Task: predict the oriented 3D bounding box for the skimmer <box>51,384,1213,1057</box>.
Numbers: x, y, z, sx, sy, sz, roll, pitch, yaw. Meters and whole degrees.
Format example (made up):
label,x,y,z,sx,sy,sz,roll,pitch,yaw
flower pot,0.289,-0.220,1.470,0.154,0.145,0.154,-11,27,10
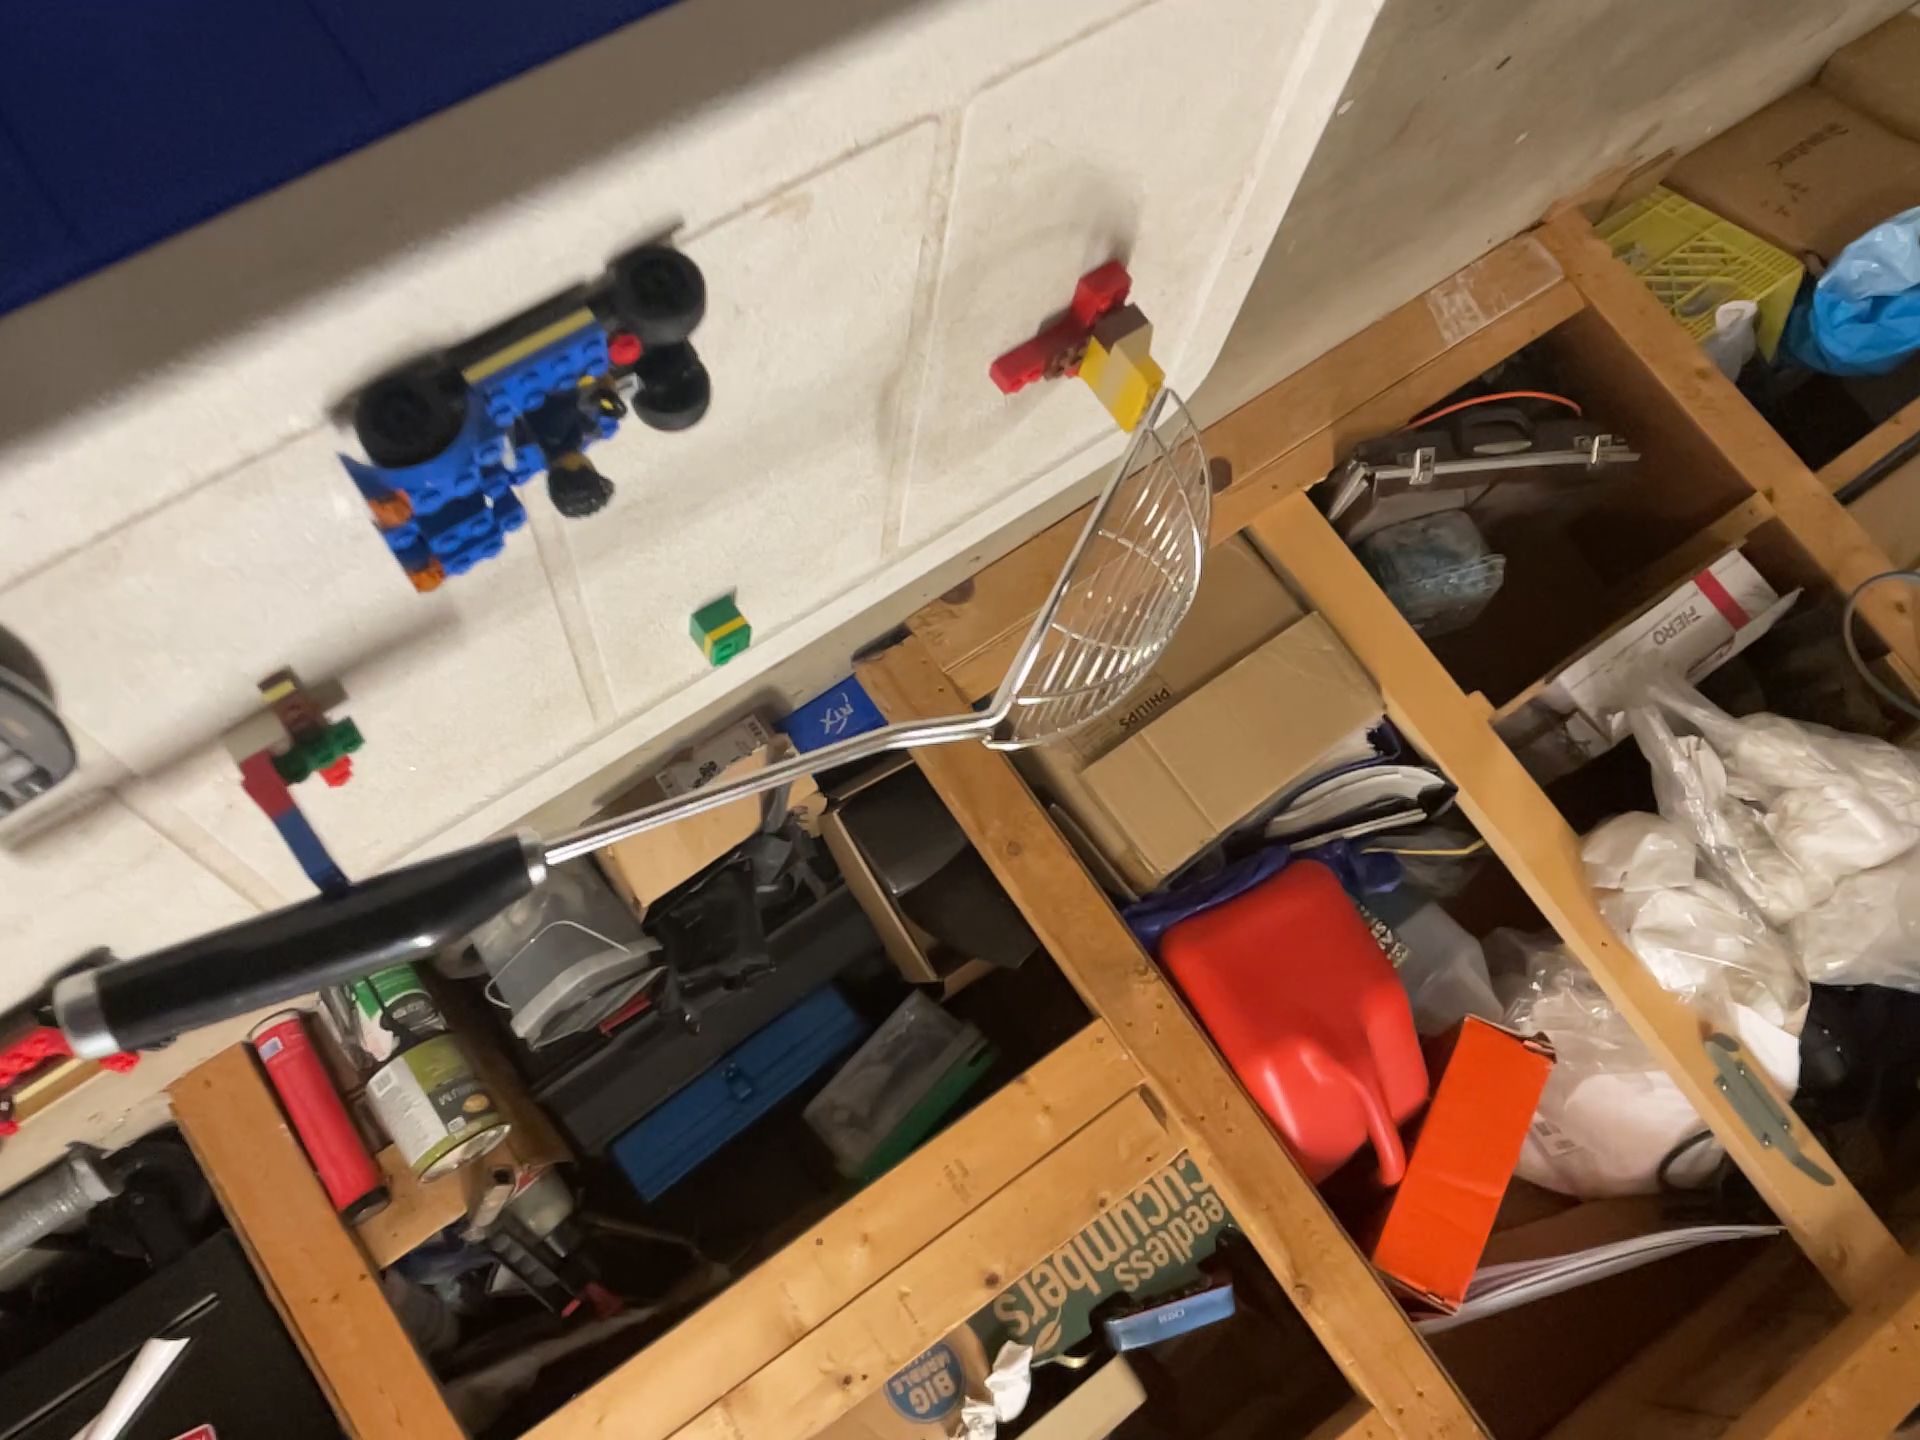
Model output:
label,x,y,z,sx,sy,sz,roll,pitch,yaw
skimmer,-0.079,-0.006,0.476,0.363,0.090,0.127,-19,163,-19
